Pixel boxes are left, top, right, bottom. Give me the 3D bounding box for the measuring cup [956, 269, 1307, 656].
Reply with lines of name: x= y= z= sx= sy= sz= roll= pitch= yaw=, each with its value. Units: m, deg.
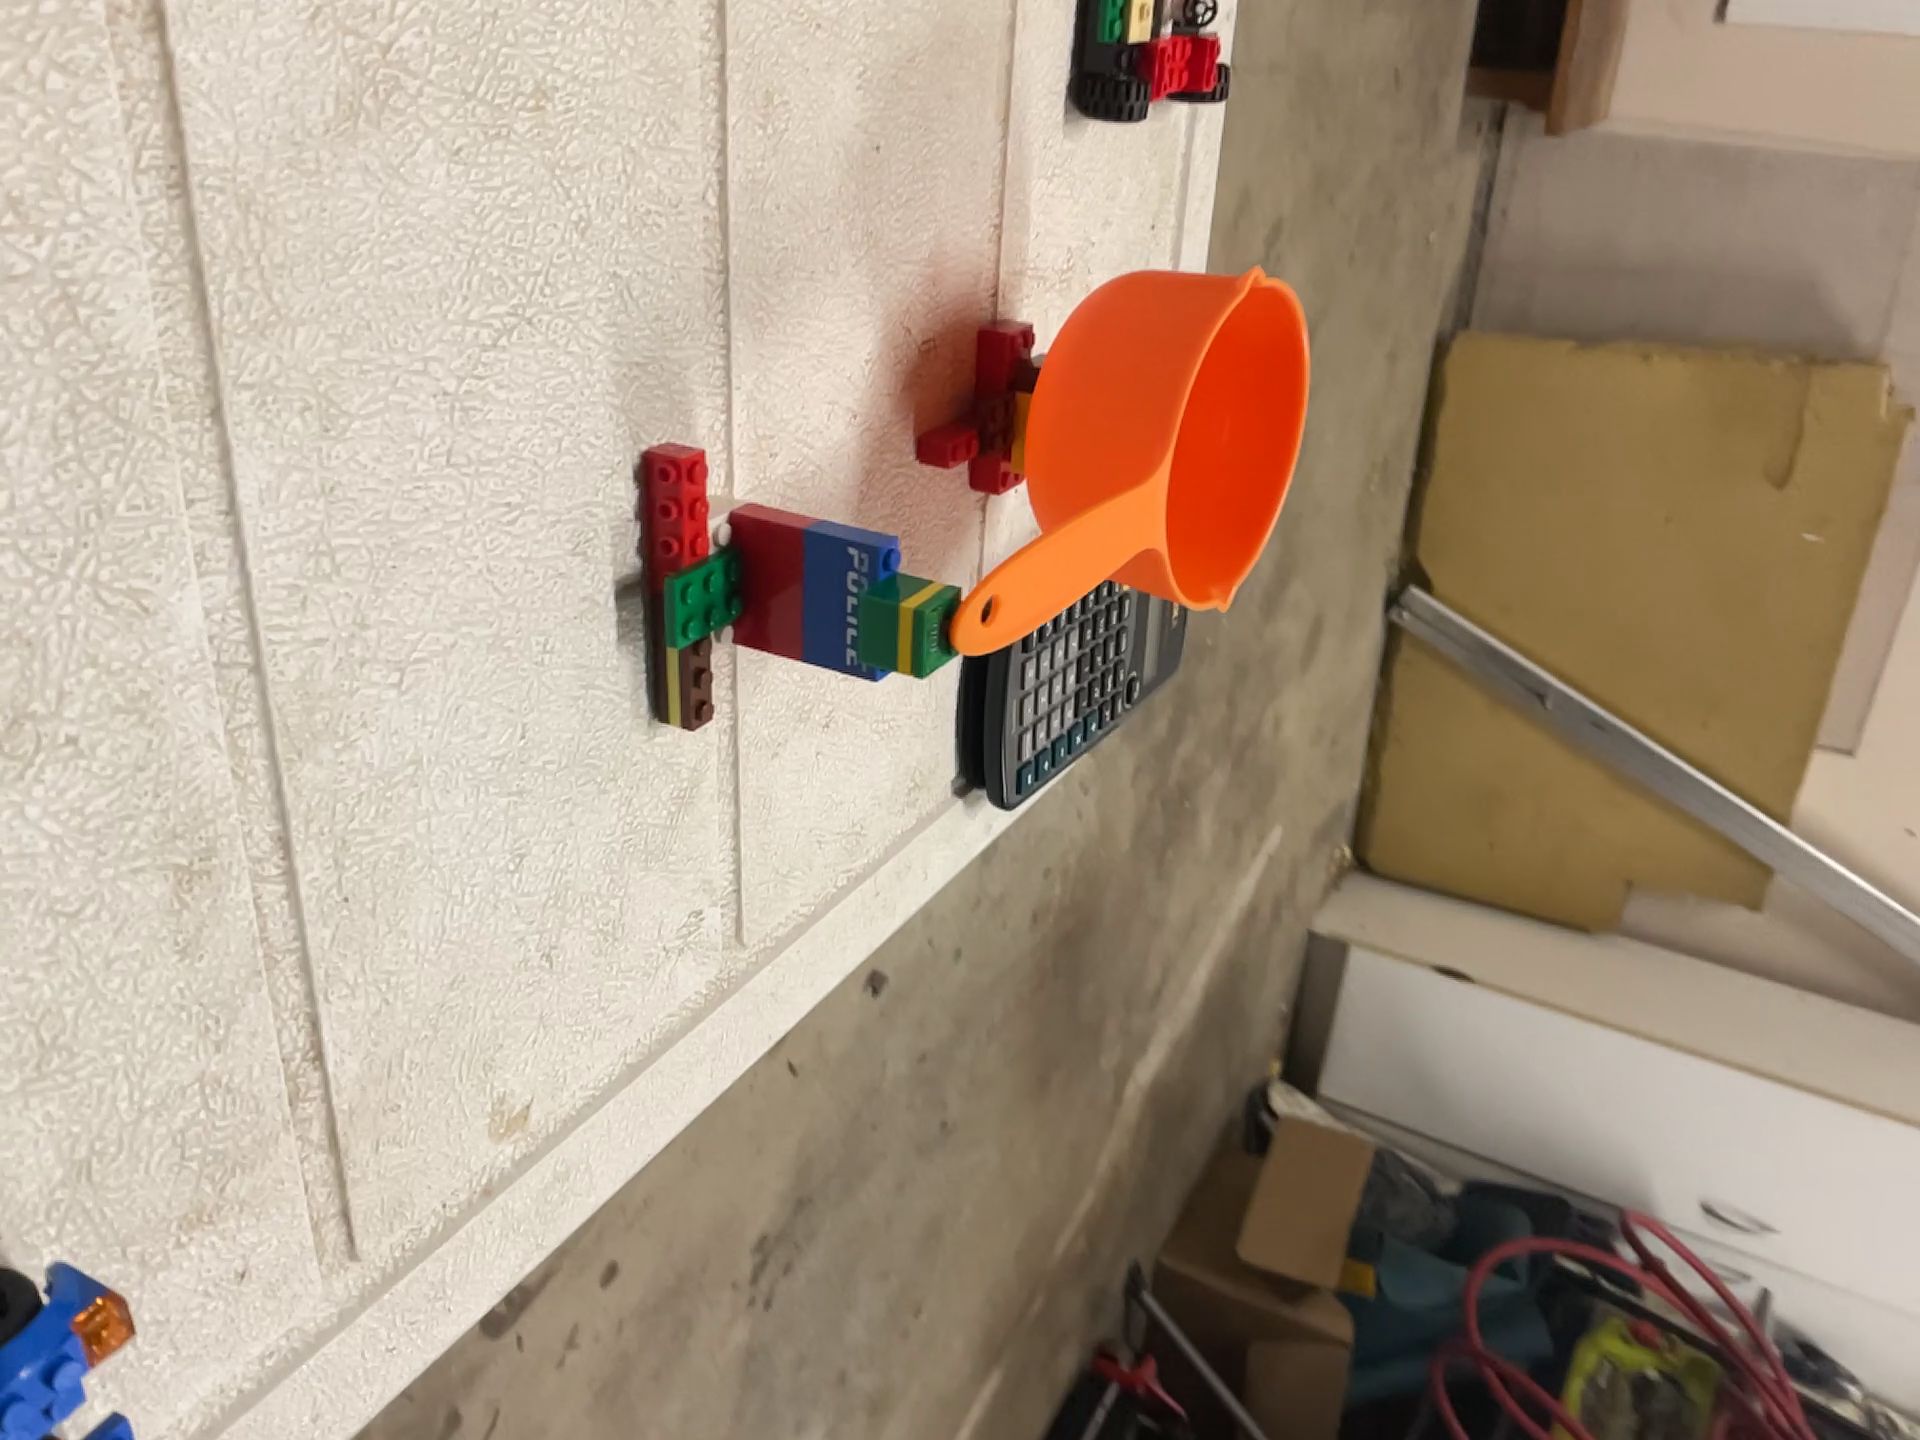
measuring cup: x=0.031 y=-0.060 z=0.405 sx=0.174 sy=0.052 sz=0.095 roll=-37 pitch=136 yaw=-45
